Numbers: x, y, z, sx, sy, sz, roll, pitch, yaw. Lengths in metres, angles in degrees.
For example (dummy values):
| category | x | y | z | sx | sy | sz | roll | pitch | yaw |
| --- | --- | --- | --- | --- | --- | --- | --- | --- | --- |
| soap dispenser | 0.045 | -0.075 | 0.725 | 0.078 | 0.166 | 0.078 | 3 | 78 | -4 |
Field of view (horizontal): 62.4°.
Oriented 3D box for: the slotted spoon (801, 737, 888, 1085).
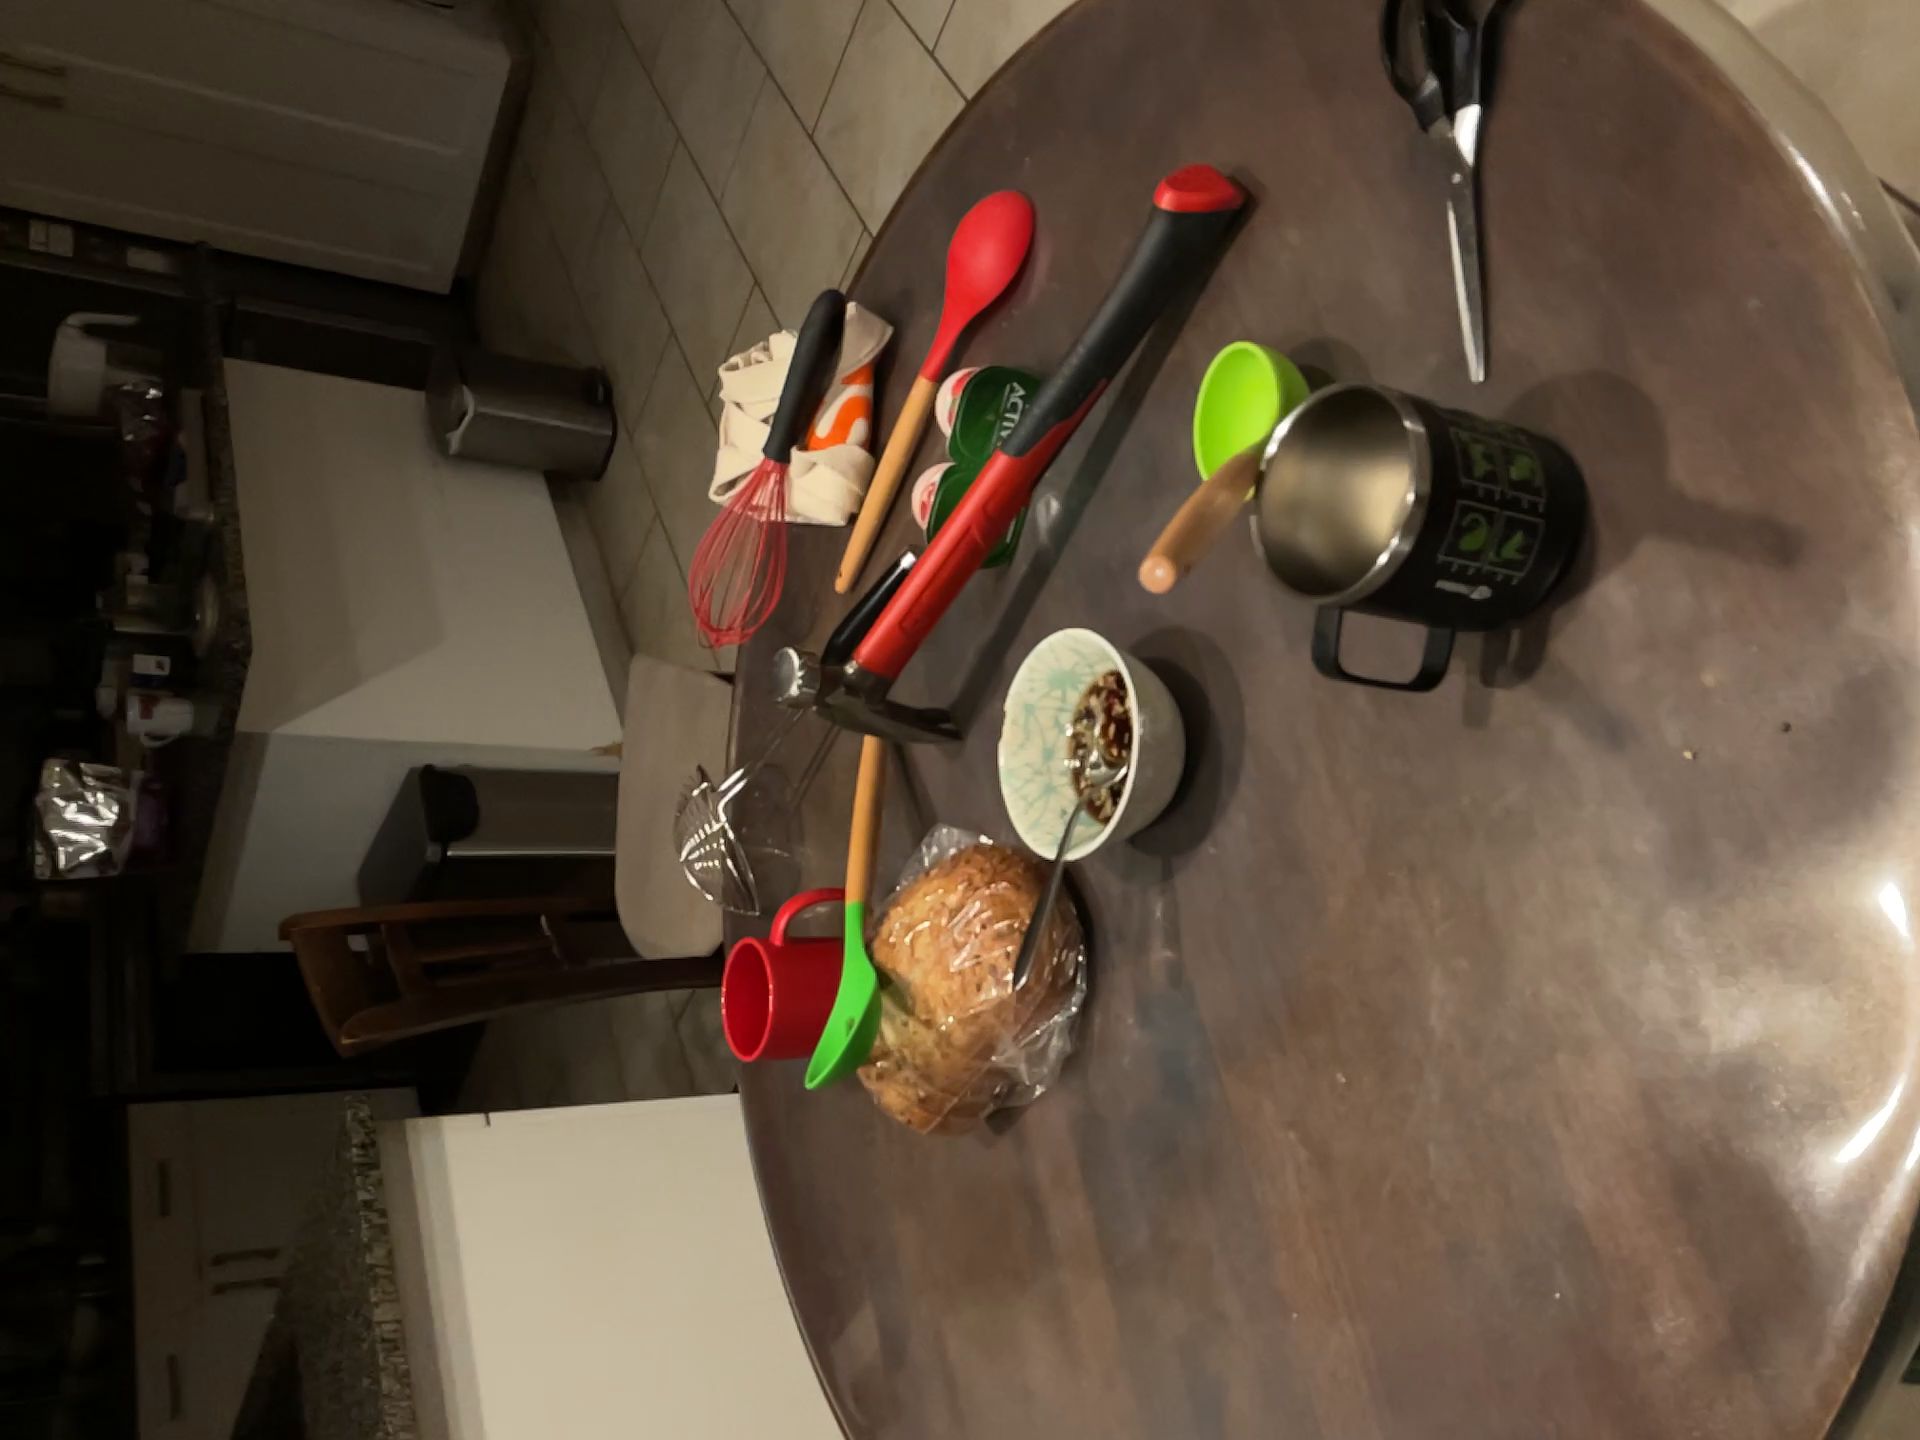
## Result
| category | x | y | z | sx | sy | sz | roll | pitch | yaw |
| --- | --- | --- | --- | --- | --- | --- | --- | --- | --- |
| slotted spoon | -0.062 | 0.097 | 0.998 | 0.070 | 0.031 | 0.314 | -49 | 24 | 37 |

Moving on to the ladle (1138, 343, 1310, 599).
| category | x | y | z | sx | sy | sz | roll | pitch | yaw |
| --- | --- | --- | --- | --- | --- | --- | --- | --- | --- |
| ladle | 0.102 | -0.101 | 0.658 | 0.062 | 0.320 | 0.078 | 12 | 113 | 15 |

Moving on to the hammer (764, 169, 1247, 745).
| category | x | y | z | sx | sy | sz | roll | pitch | yaw |
| --- | --- | --- | --- | --- | --- | --- | --- | --- | --- |
| hammer | 0.043 | -0.137 | 0.916 | 0.386 | 0.143 | 0.038 | -52 | 45 | 24 |

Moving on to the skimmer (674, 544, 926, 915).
| category | x | y | z | sx | sy | sz | roll | pitch | yaw |
| --- | --- | --- | --- | --- | --- | --- | --- | --- | --- |
| skimmer | -0.108 | 0.009 | 1.176 | 0.363 | 0.090 | 0.127 | -48 | 55 | 29 |

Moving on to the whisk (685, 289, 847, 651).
| category | x | y | z | sx | sy | sz | roll | pitch | yaw |
| --- | --- | --- | --- | --- | --- | --- | --- | --- | --- |
| whisk | -0.141 | -0.177 | 1.162 | 0.073 | 0.073 | 0.295 | 56 | 131 | 46 |

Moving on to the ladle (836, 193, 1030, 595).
| category | x | y | z | sx | sy | sz | roll | pitch | yaw |
| --- | --- | --- | --- | --- | --- | --- | --- | --- | --- |
| ladle | -0.029 | -0.213 | 1.084 | 0.315 | 0.031 | 0.069 | -64 | 38 | 33 |
